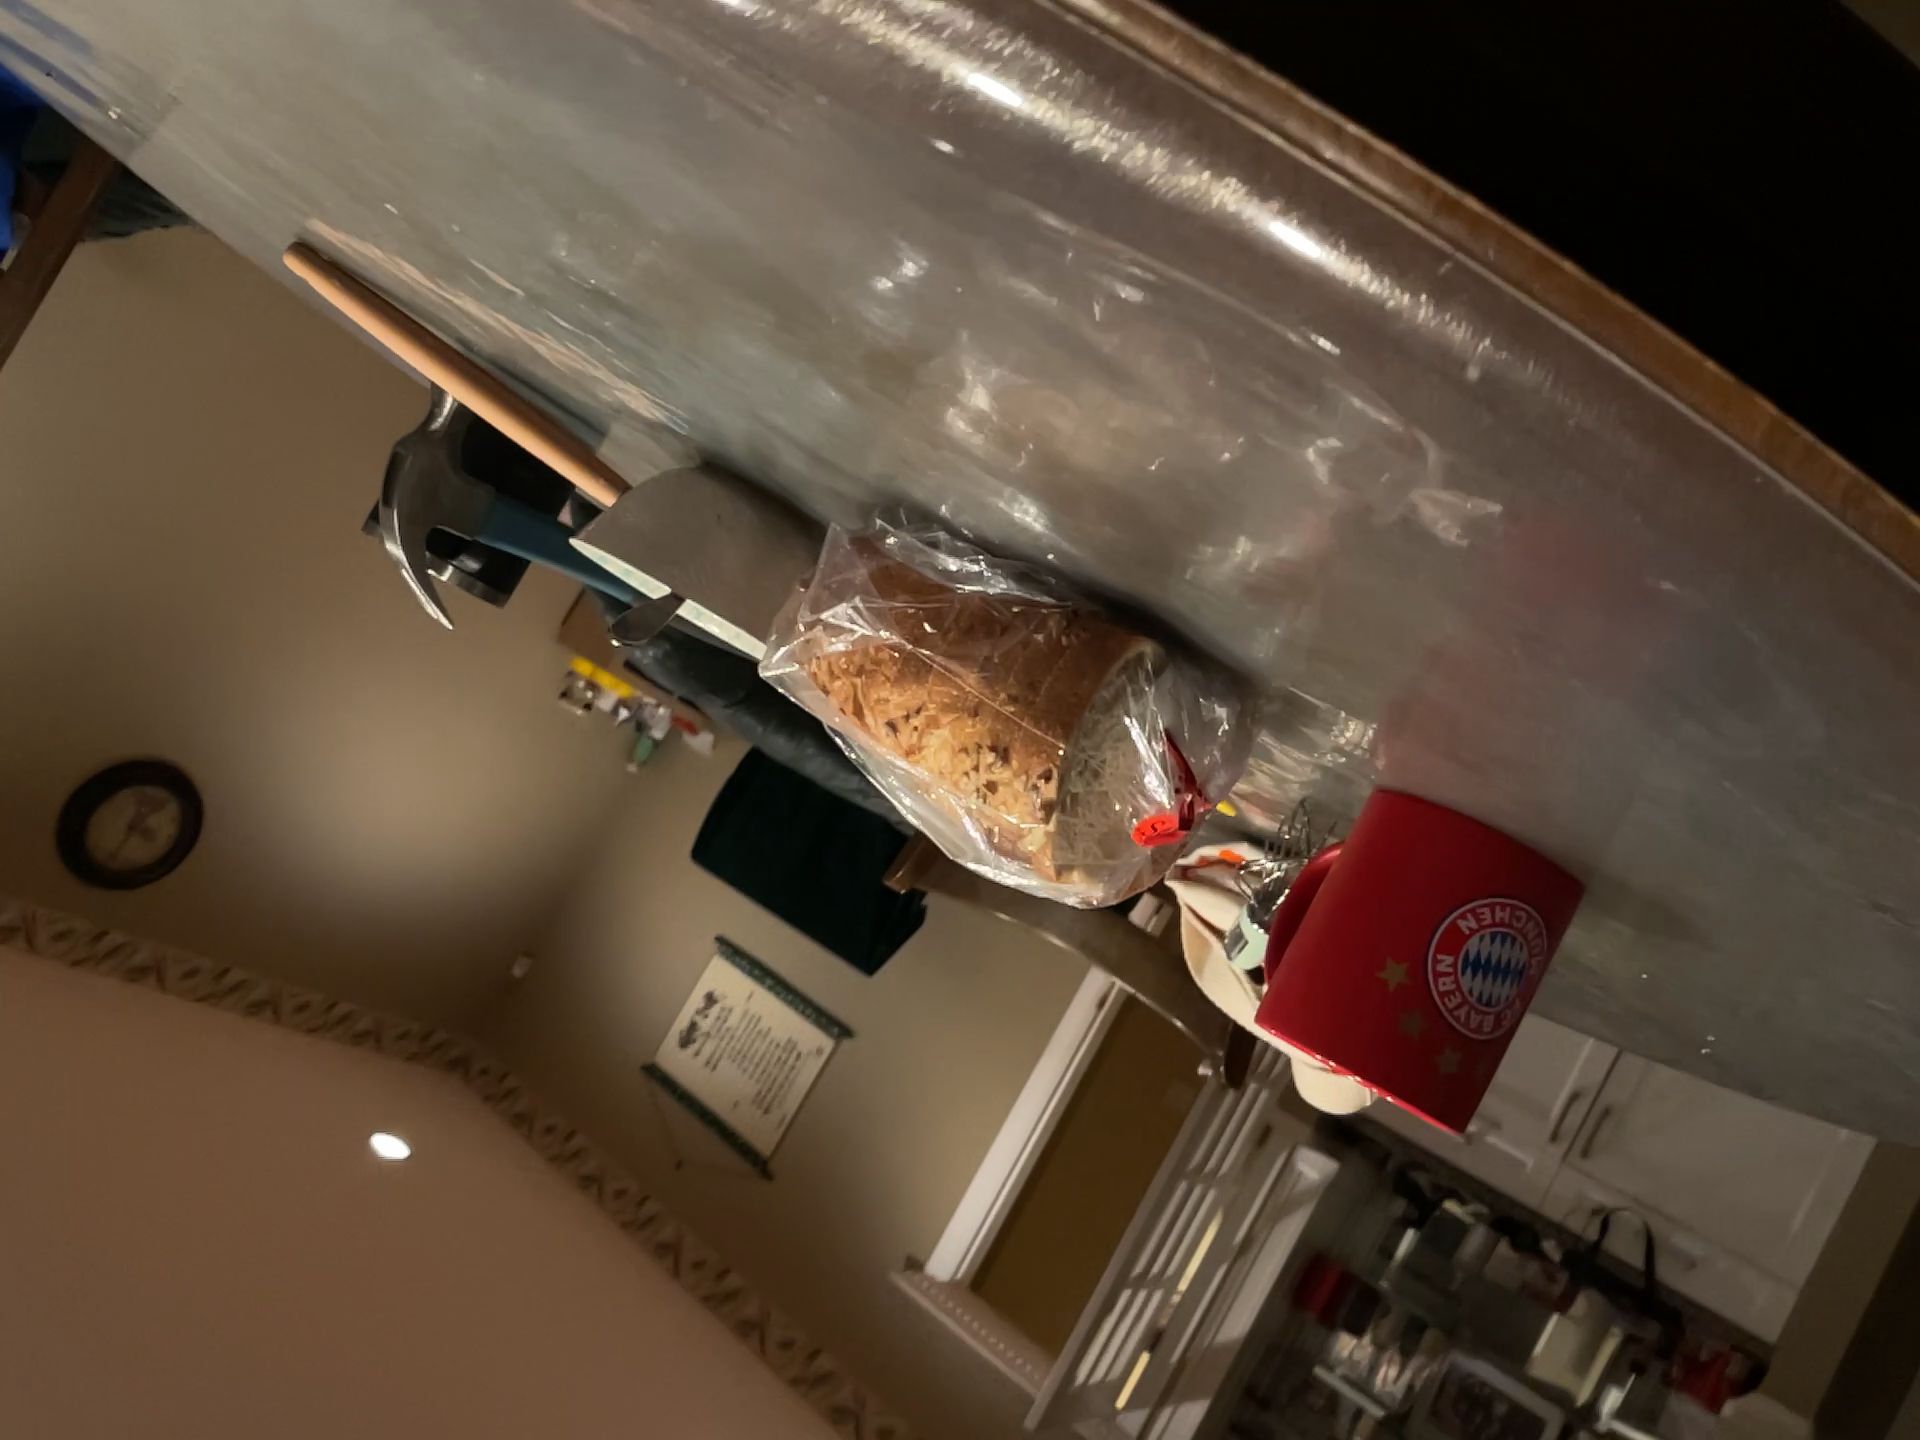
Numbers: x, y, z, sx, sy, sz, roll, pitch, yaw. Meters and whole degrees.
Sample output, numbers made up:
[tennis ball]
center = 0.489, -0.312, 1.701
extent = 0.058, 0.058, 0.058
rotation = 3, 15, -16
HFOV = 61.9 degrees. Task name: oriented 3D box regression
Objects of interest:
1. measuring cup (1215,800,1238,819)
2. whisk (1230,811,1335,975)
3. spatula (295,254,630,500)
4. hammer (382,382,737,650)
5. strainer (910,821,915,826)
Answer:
[measuring cup]
center = 0.065, 0.016, 0.778
extent = 0.156, 0.029, 0.062
rotation = 32, 175, -7
[whisk]
center = 0.155, 0.096, 0.792
extent = 0.059, 0.058, 0.246
rotation = -1, 162, 4
[spatula]
center = -0.179, -0.132, 0.793
extent = 0.317, 0.044, 0.082
rotation = 36, 174, -17
[hammer]
center = -0.178, -0.080, 0.931
extent = 0.331, 0.128, 0.033
rotation = 23, -176, -42
[strainer]
center = 0.039, 0.056, 0.972
extent = 0.211, 0.095, 0.340
rotation = 29, 171, 22
